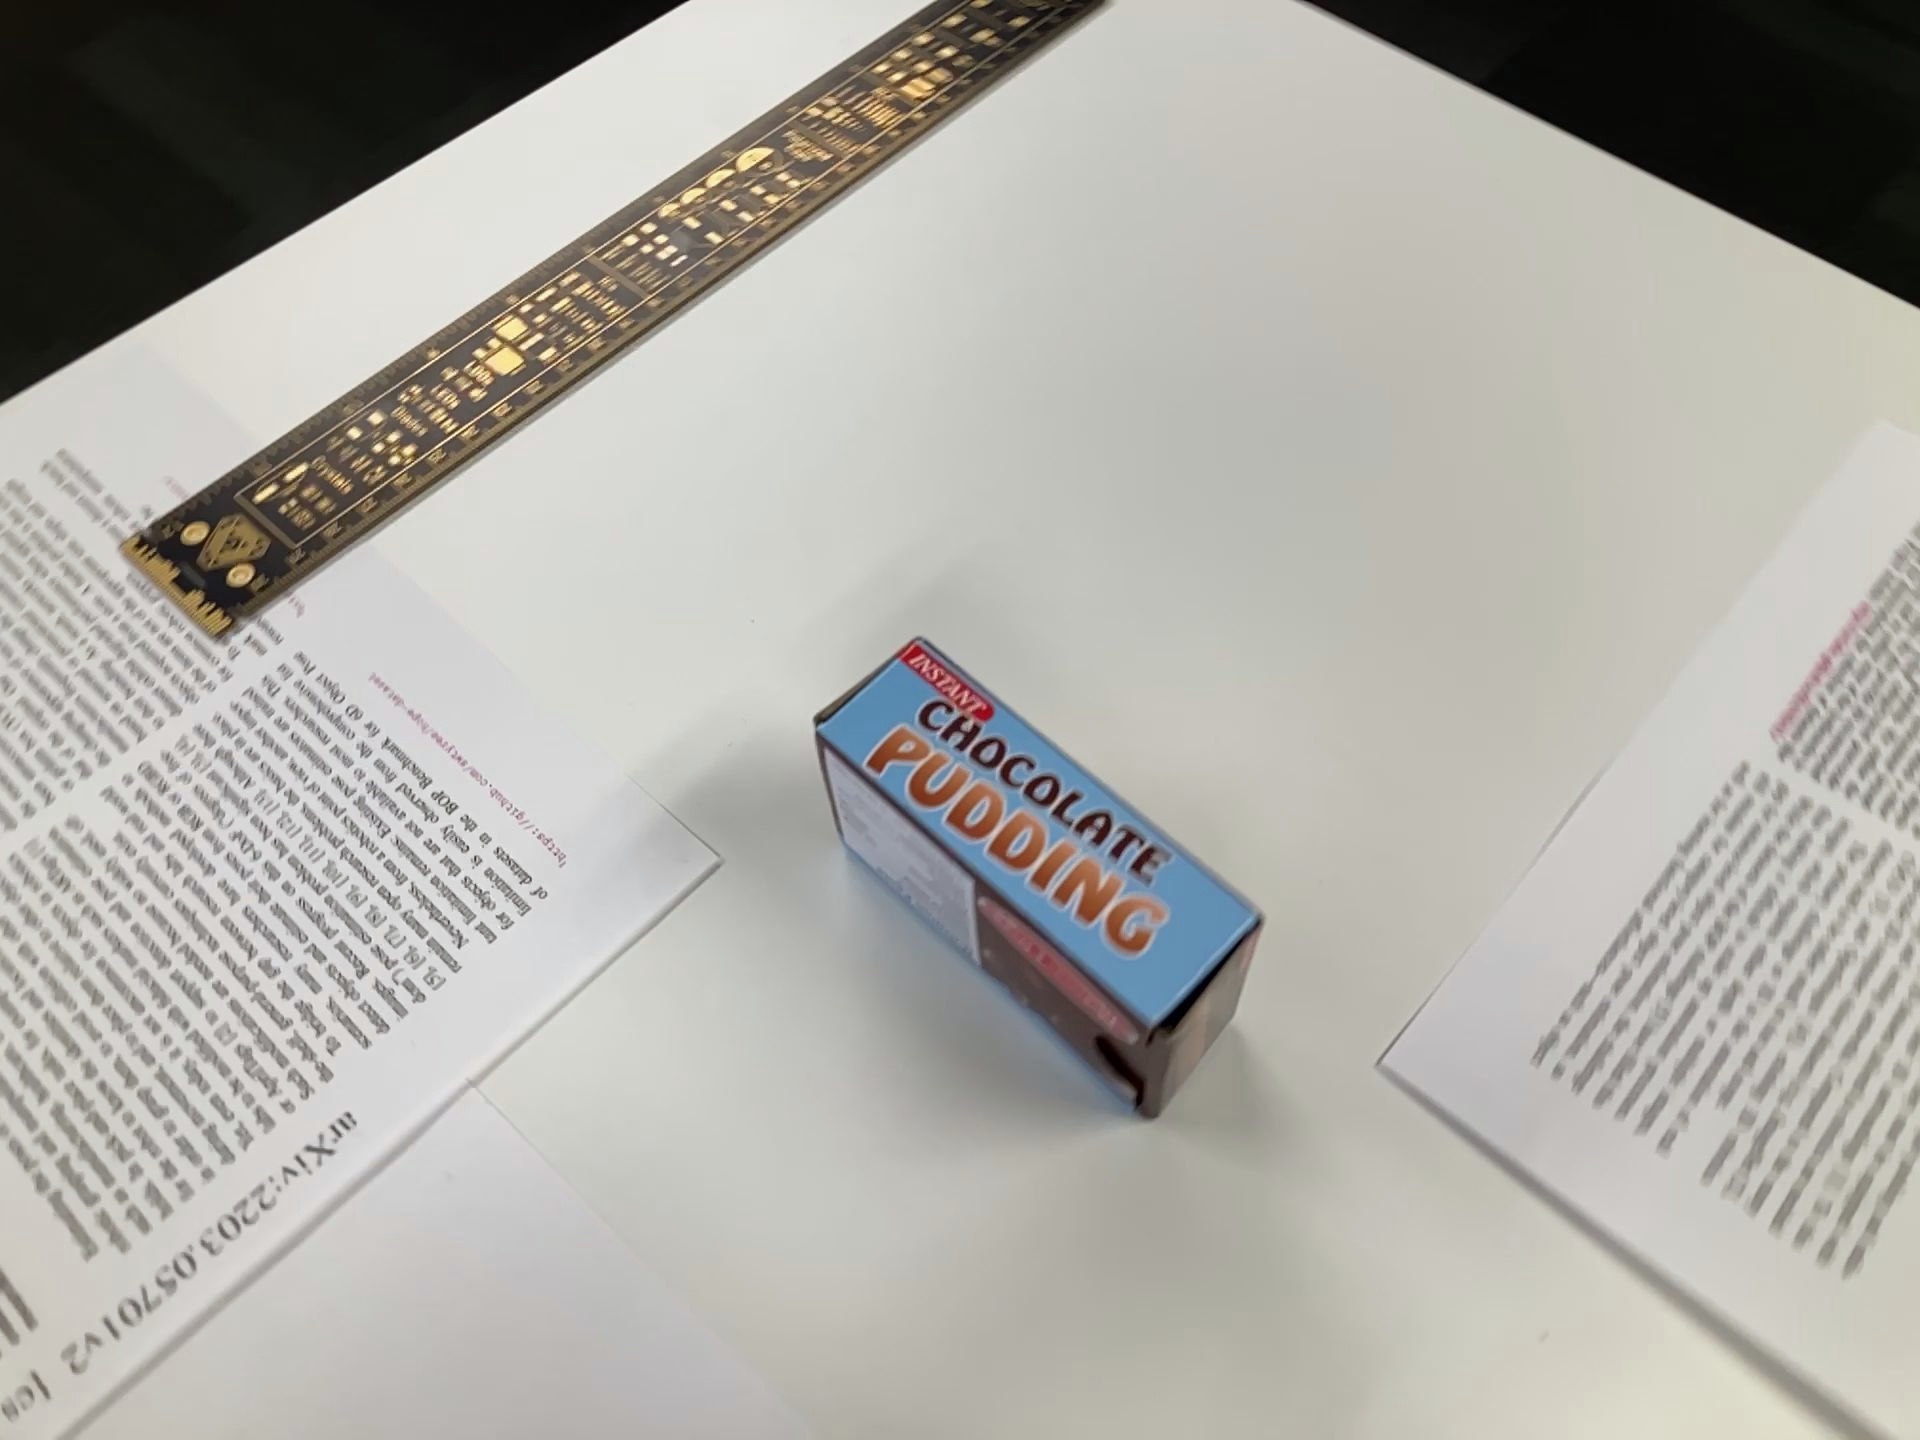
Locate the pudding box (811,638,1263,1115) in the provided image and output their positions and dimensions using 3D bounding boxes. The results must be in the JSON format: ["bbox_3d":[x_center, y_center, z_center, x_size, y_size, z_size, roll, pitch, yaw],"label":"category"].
[{"bbox_3d":[0.012,0.029,0.293,0.083,0.049,0.030,39,68,22],"label":"pudding box"}]
